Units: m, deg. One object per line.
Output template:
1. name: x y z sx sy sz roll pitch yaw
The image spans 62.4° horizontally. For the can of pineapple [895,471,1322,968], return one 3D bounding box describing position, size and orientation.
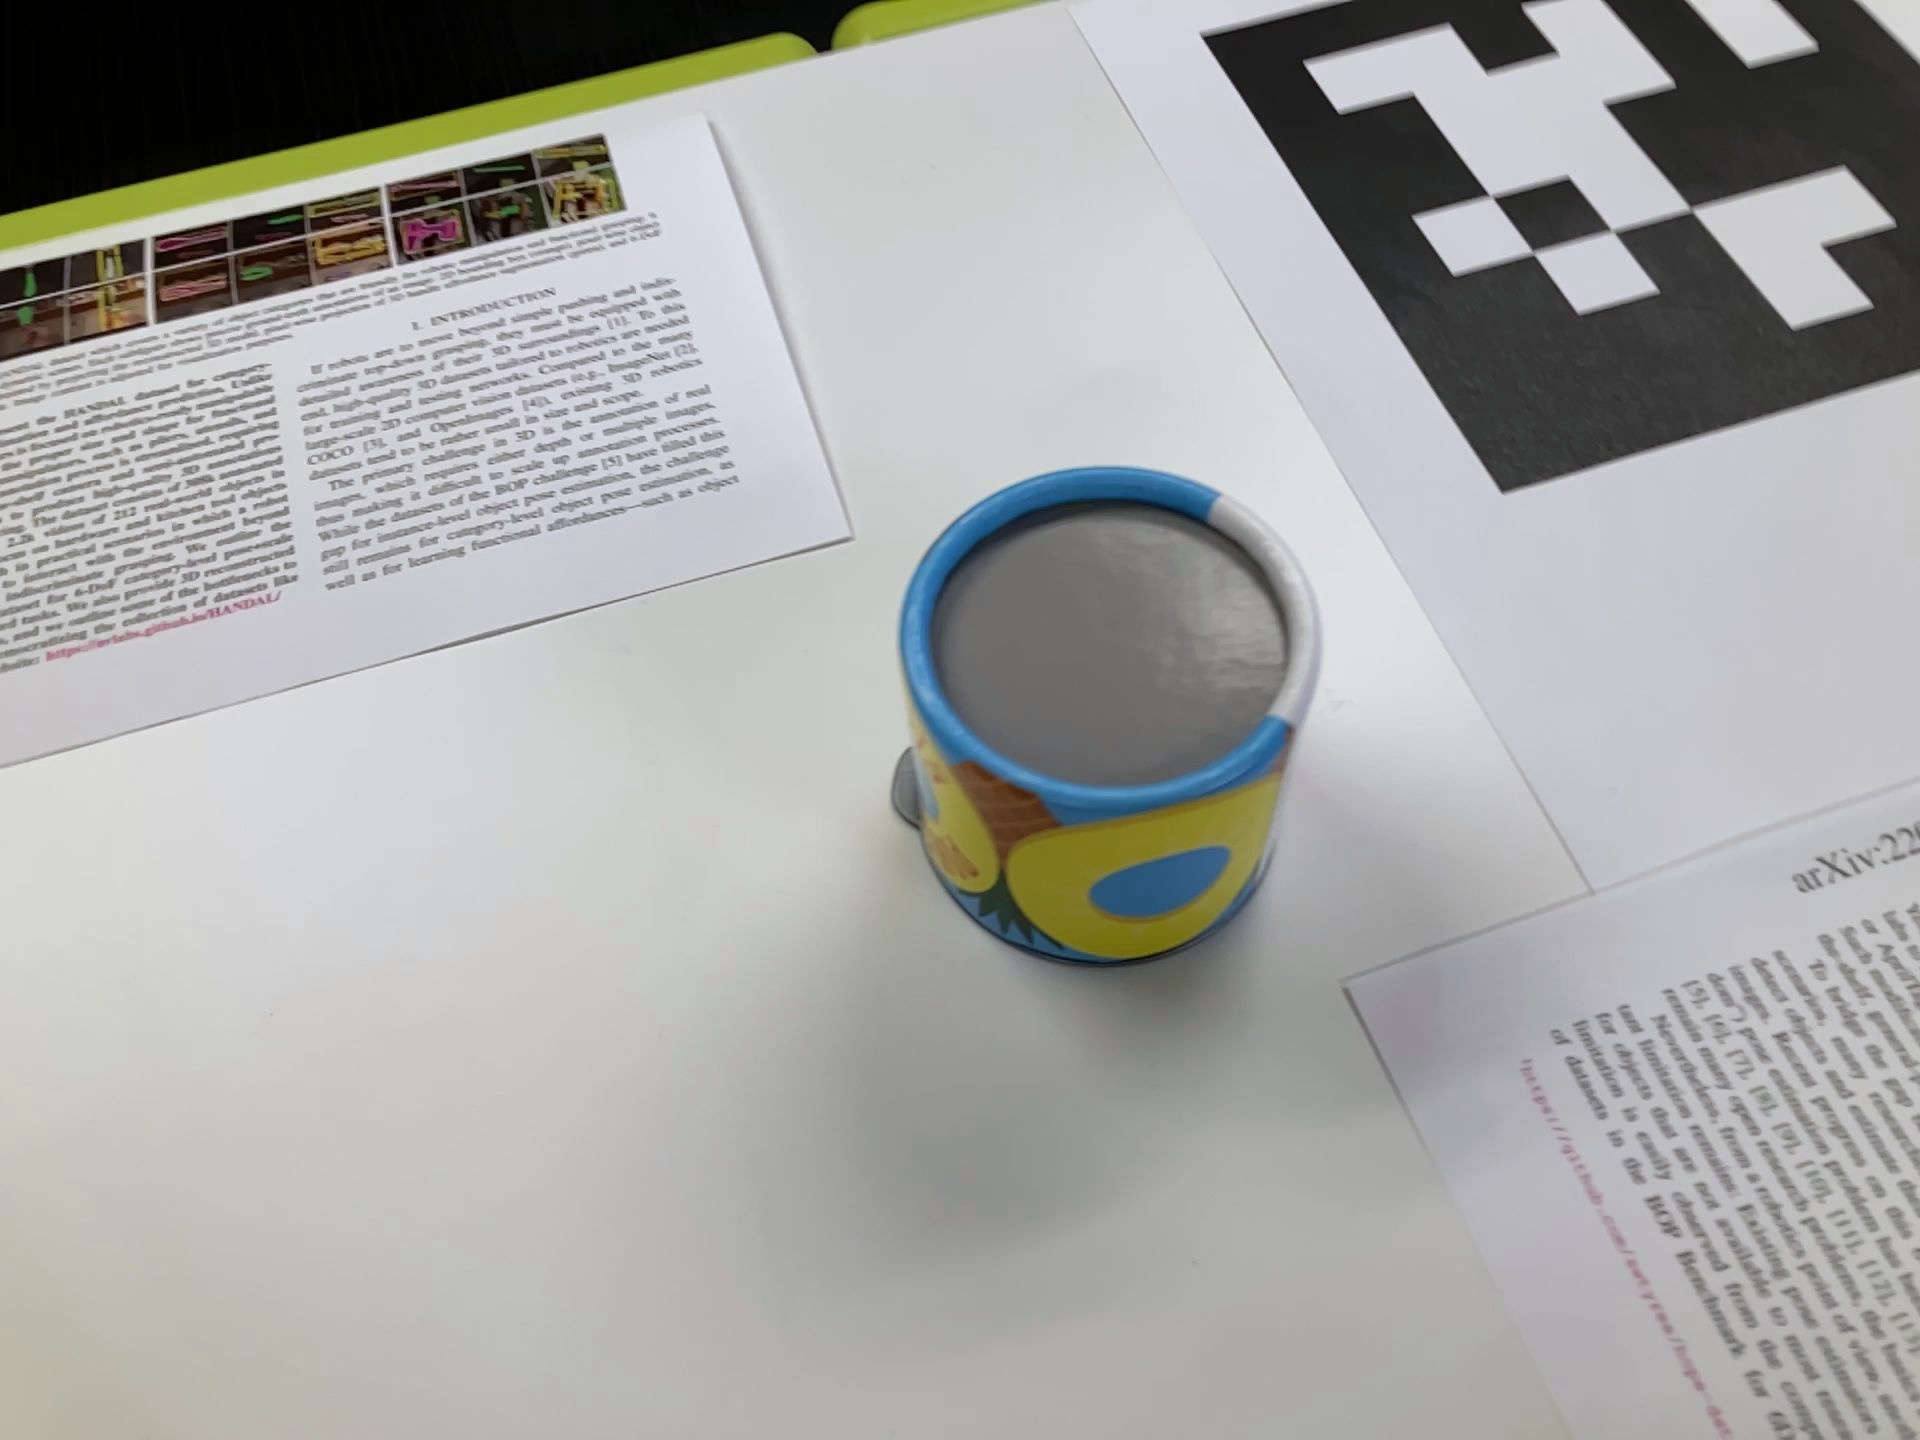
1. can of pineapple: 0.023 0.001 0.269 0.071 0.058 0.071 -1 58 2
